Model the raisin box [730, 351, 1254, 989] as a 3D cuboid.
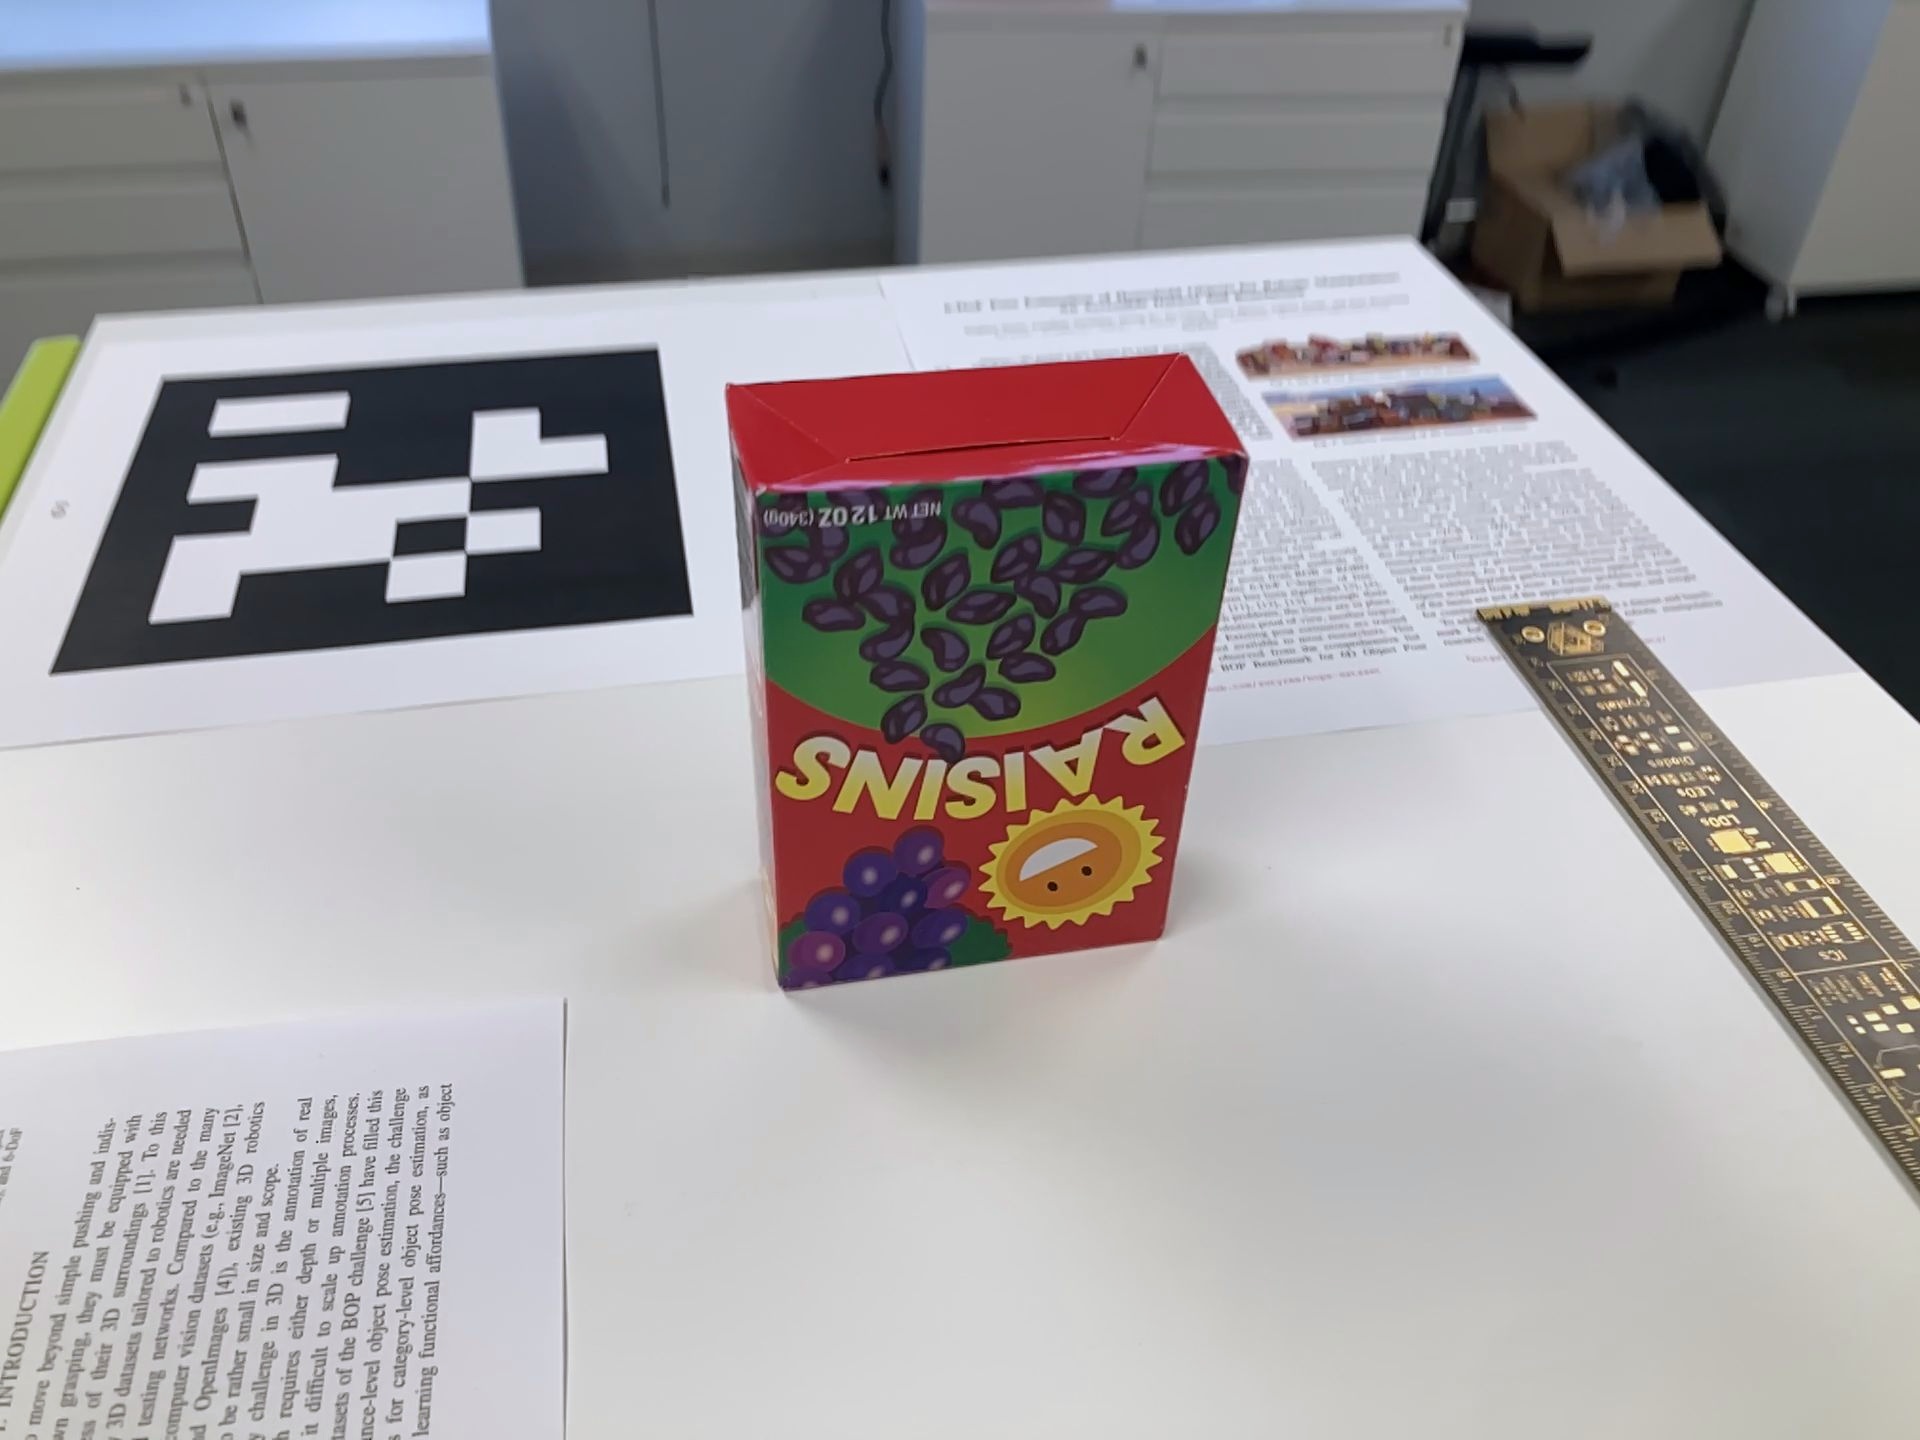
[{"bbox_3d":[0.002,-0.006,0.308,0.086,0.123,0.040,-7,42,-11],"label":"raisin box"}]
